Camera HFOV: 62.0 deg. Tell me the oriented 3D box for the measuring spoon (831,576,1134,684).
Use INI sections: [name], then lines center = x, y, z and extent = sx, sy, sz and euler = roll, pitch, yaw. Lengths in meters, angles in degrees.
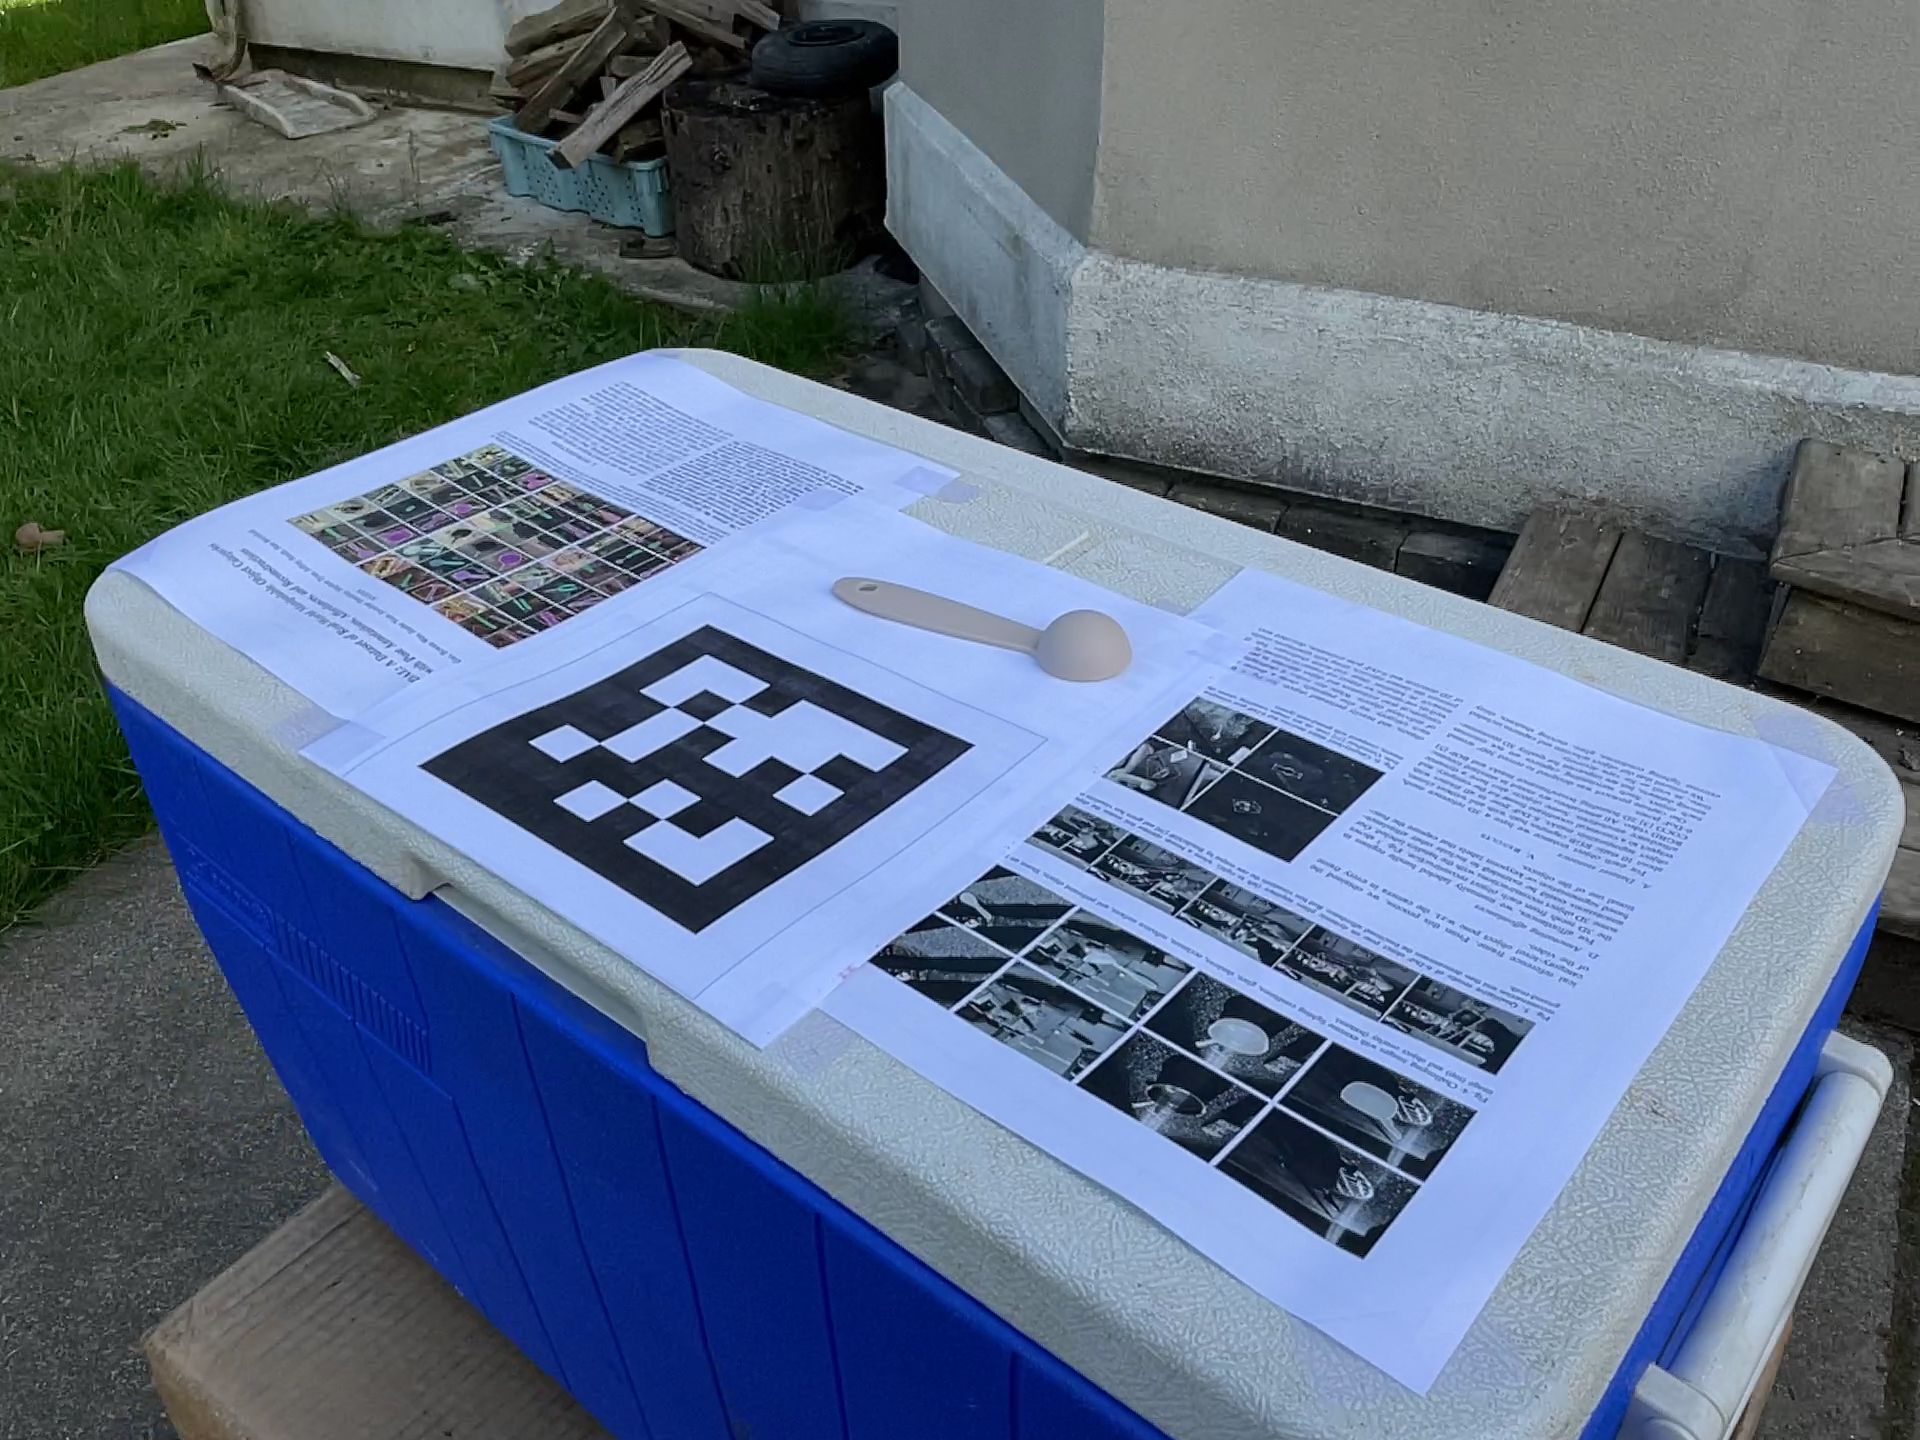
[measuring spoon]
center = 0.005, -0.041, 0.582
extent = 0.124, 0.018, 0.034
euler = 17, 39, 25
